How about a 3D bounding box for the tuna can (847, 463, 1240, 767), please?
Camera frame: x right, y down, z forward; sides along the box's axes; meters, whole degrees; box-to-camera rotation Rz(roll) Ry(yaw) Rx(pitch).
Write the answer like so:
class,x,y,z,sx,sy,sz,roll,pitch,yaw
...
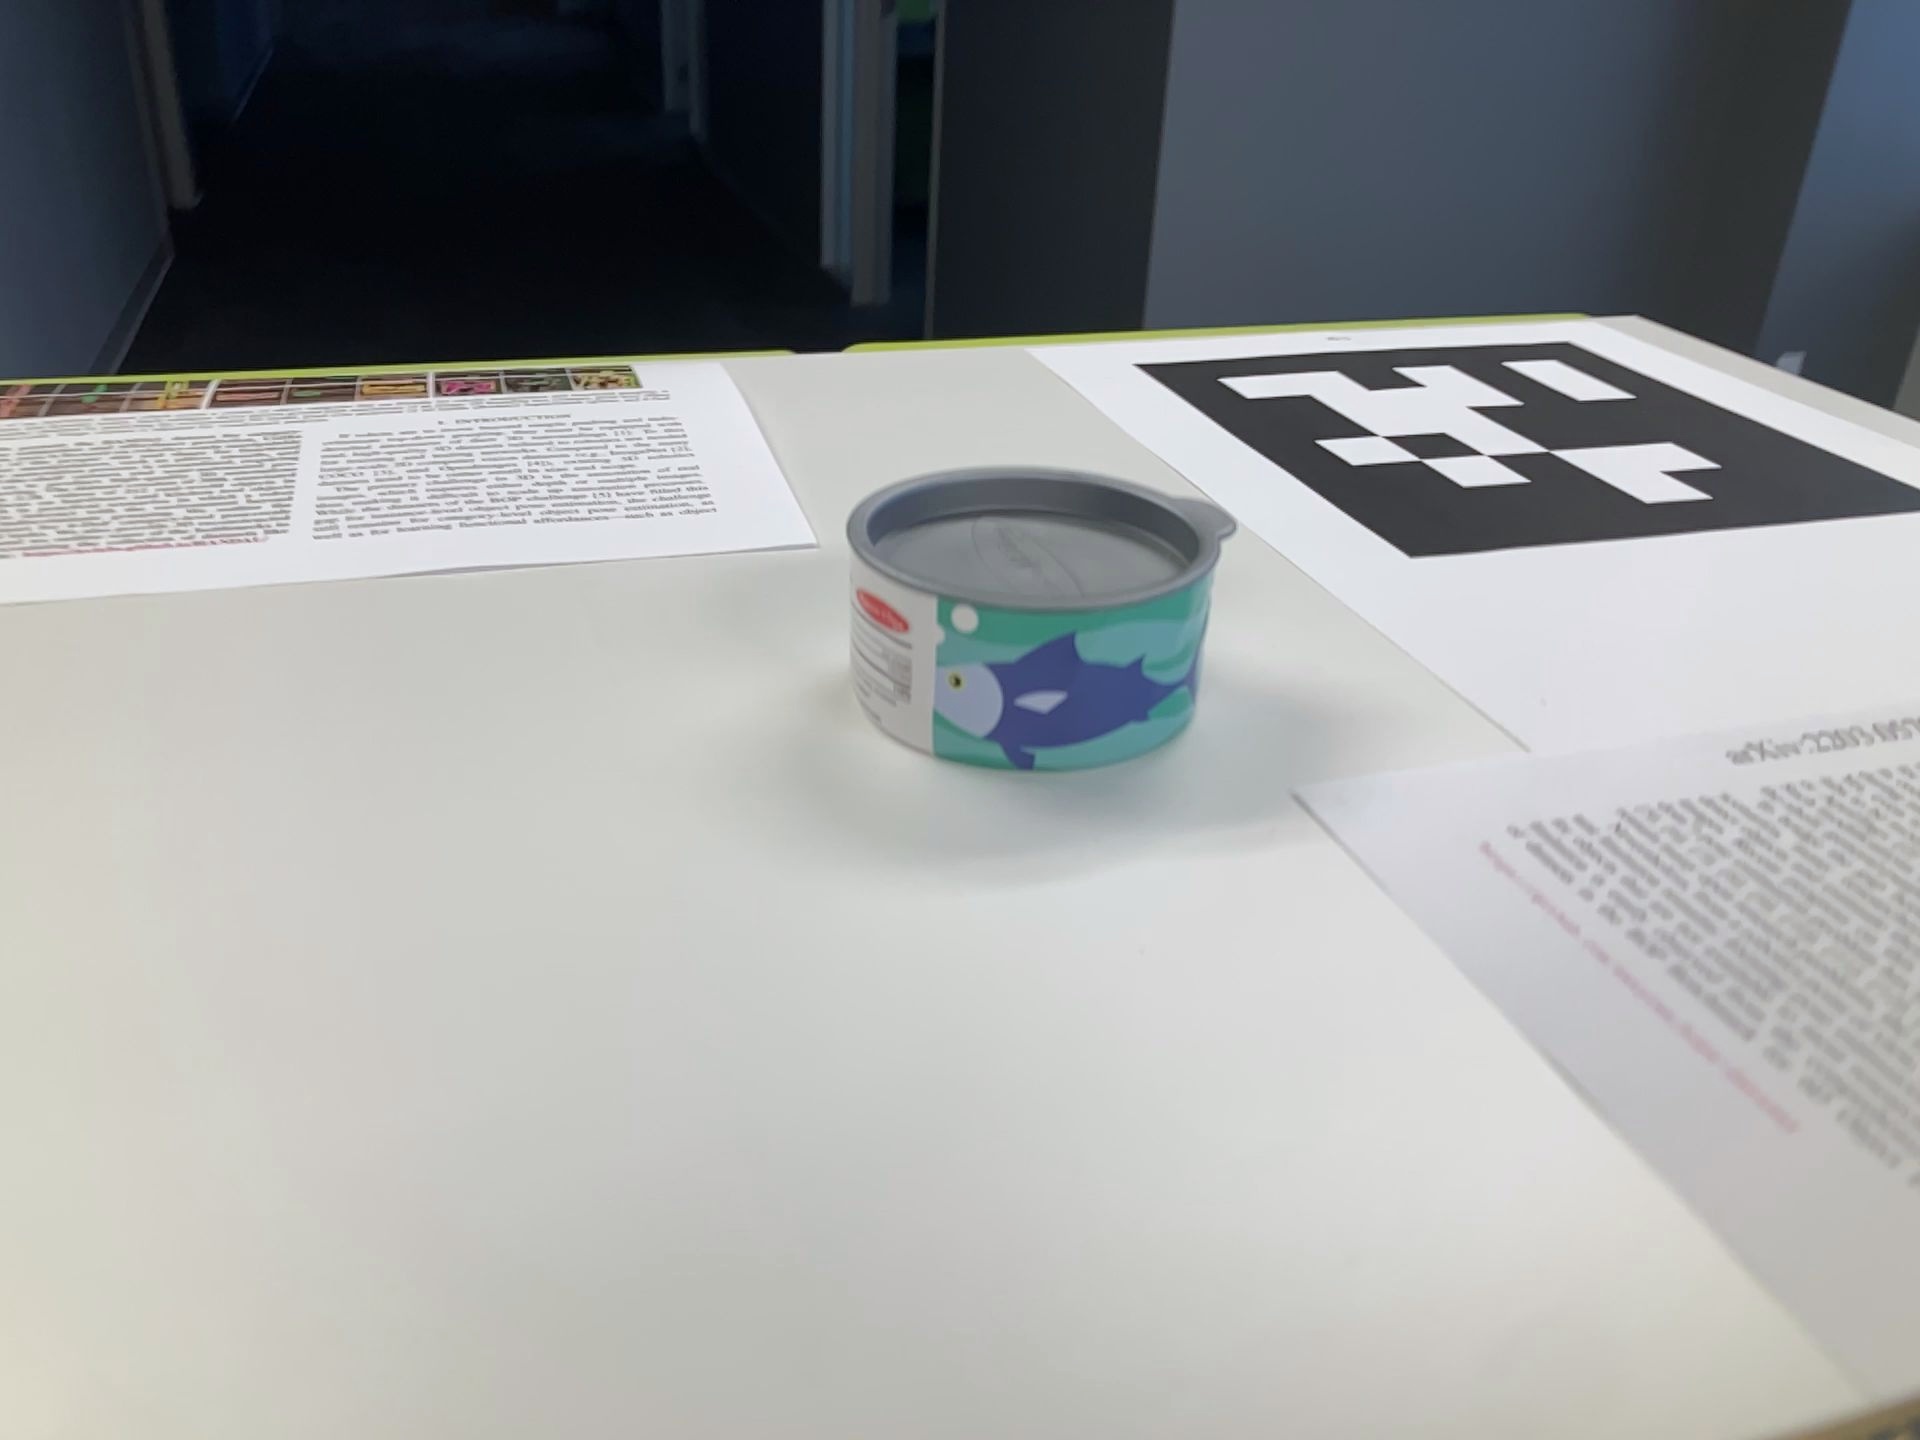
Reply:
class,x,y,z,sx,sy,sz,roll,pitch,yaw
tuna can,0.015,-0.021,0.288,0.071,0.033,0.071,2,27,-1
